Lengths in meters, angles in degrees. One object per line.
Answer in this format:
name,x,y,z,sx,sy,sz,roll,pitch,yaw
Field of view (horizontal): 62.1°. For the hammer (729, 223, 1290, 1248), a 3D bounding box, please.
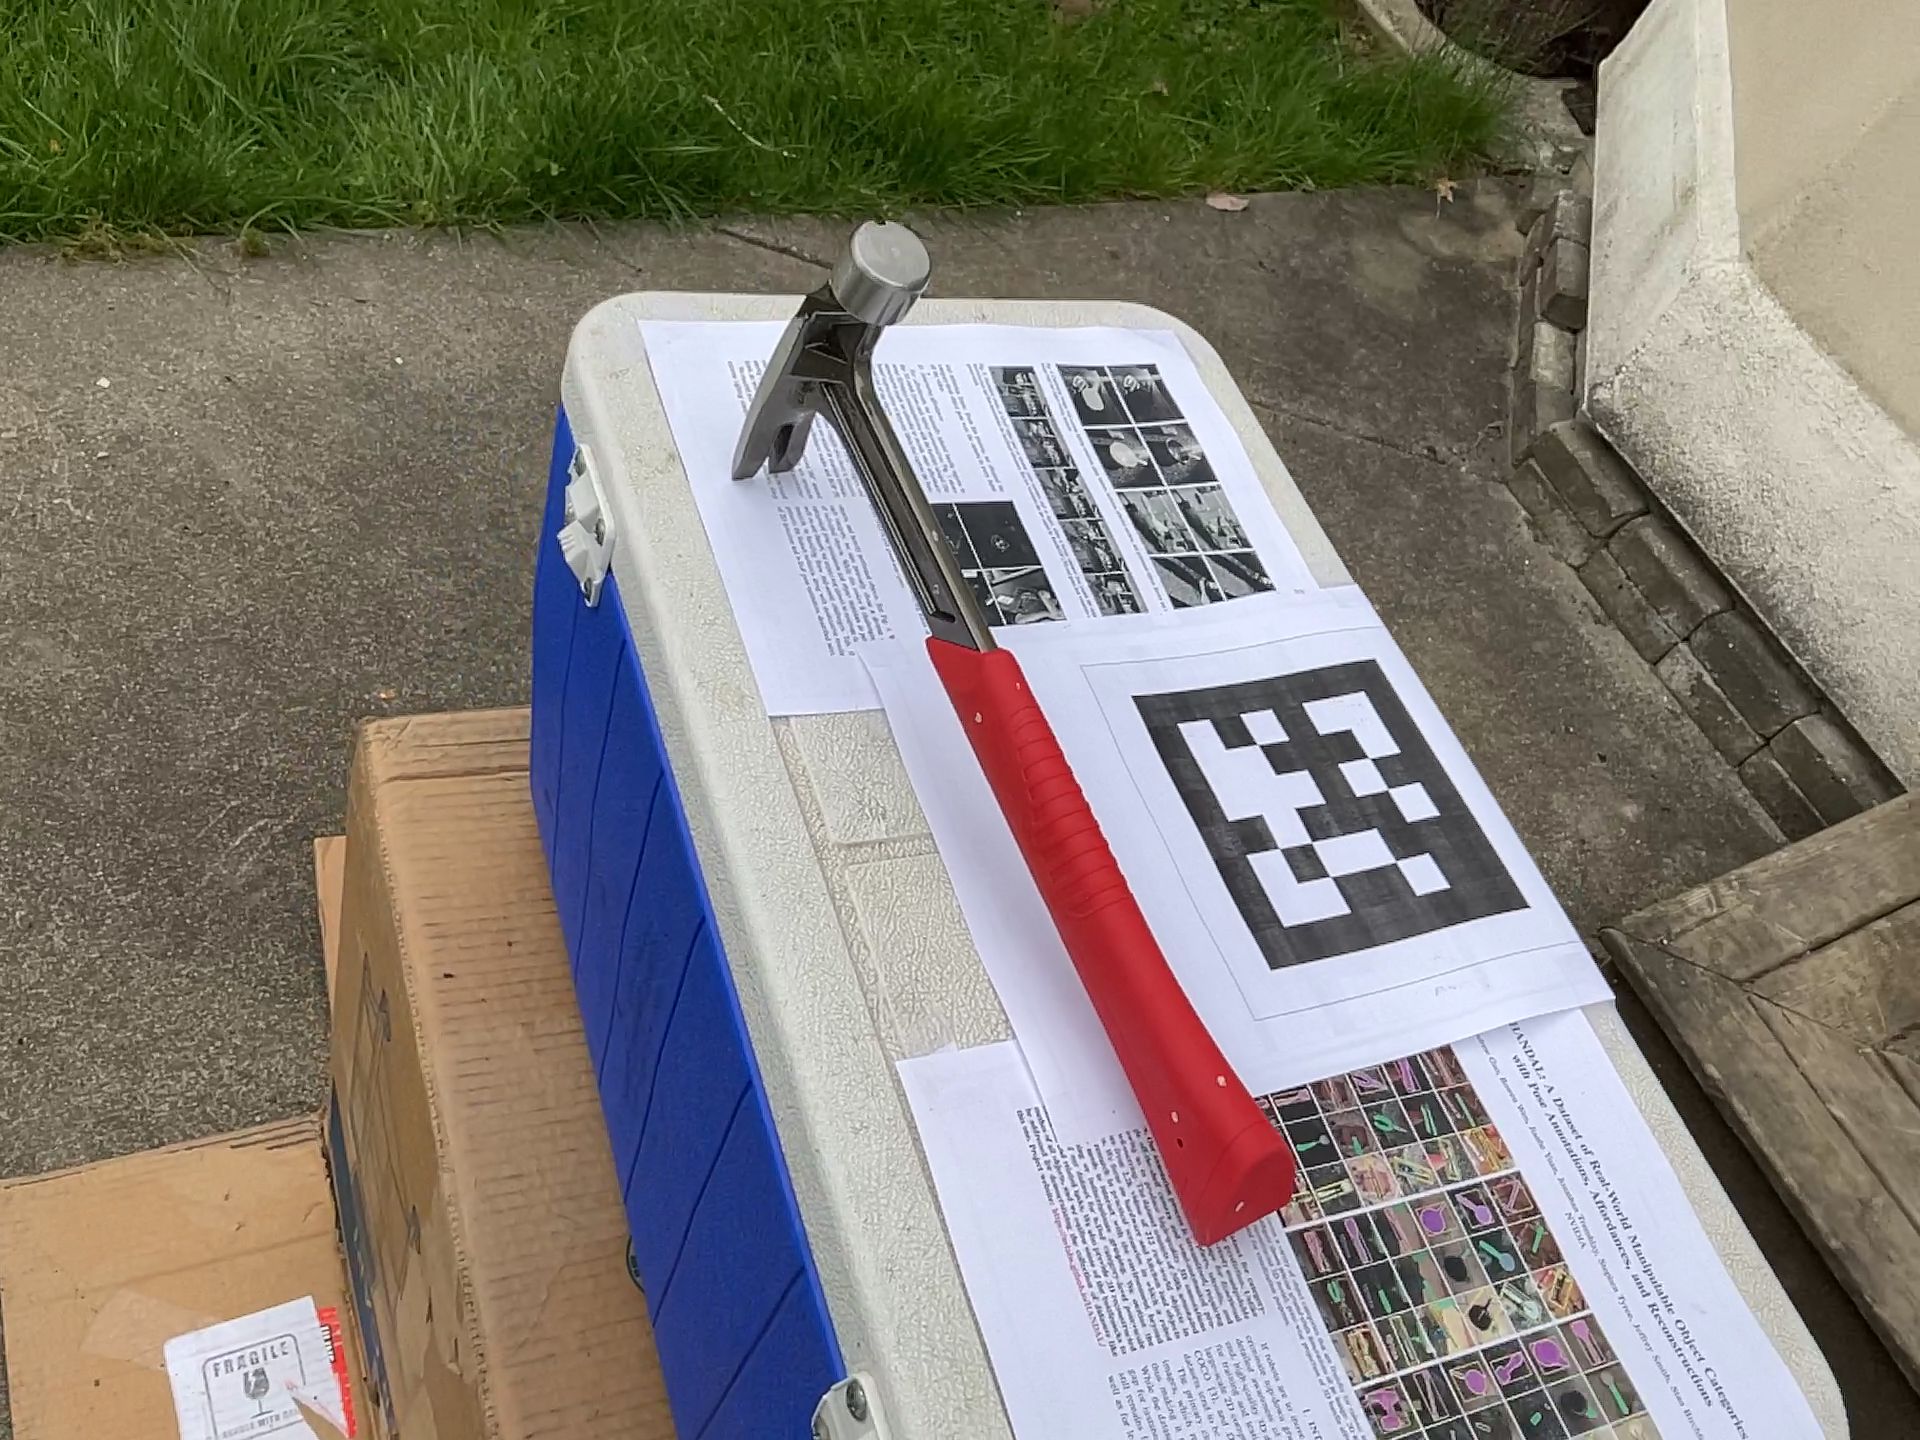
hammer,0.013,0.011,0.569,0.036,0.149,0.359,-15,72,-32
